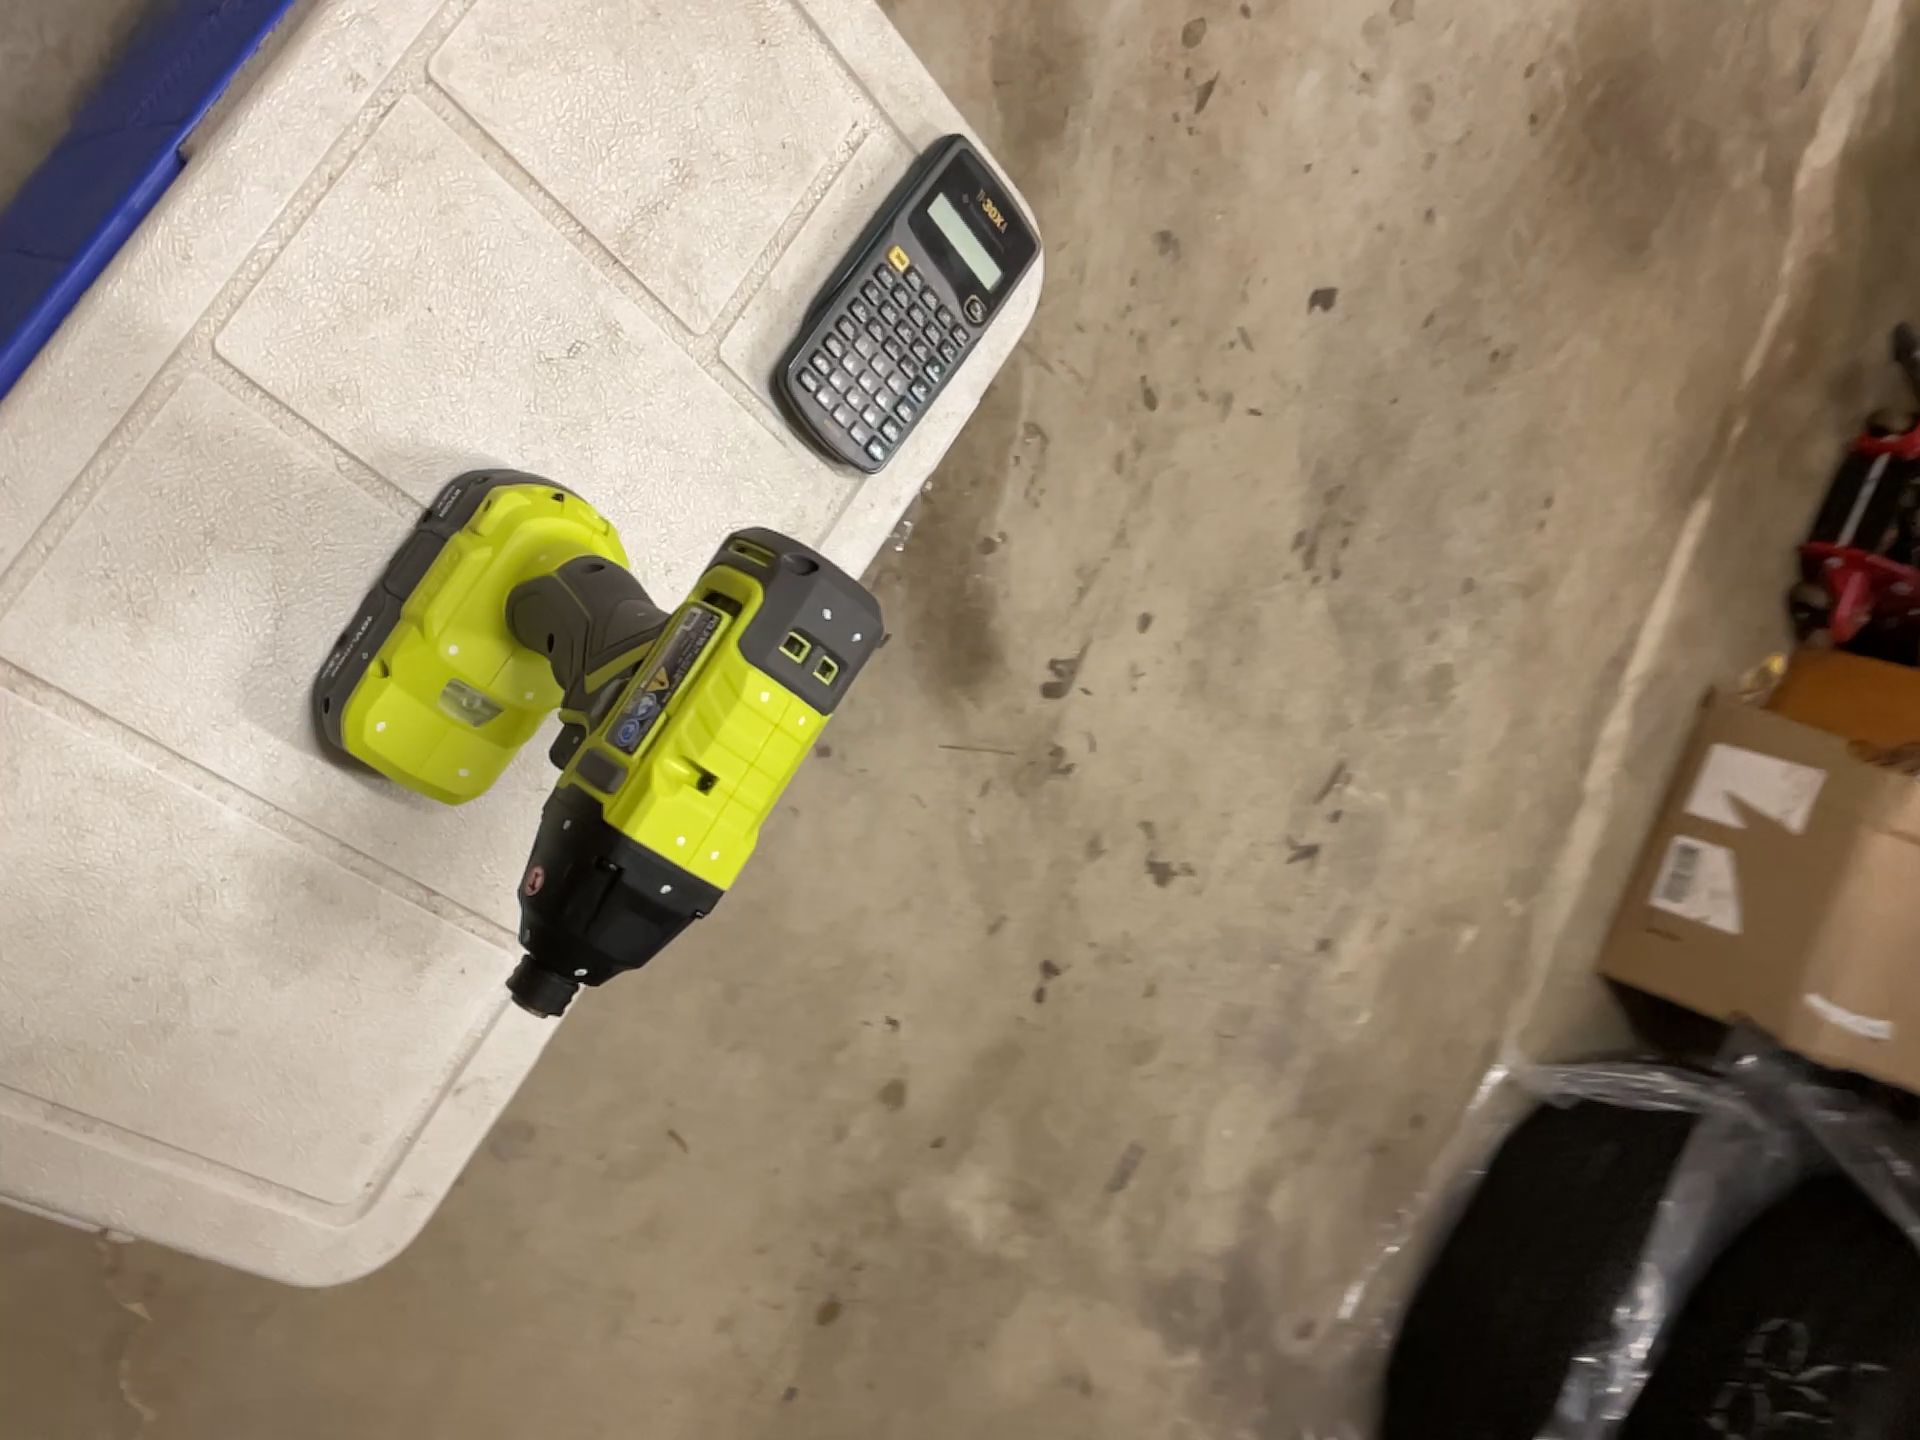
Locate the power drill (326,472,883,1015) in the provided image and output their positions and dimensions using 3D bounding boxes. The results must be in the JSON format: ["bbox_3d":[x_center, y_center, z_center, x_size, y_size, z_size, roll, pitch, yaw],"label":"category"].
[{"bbox_3d":[-0.144,-0.004,0.586,0.080,0.223,0.171,38,81,-41],"label":"power drill"}]
